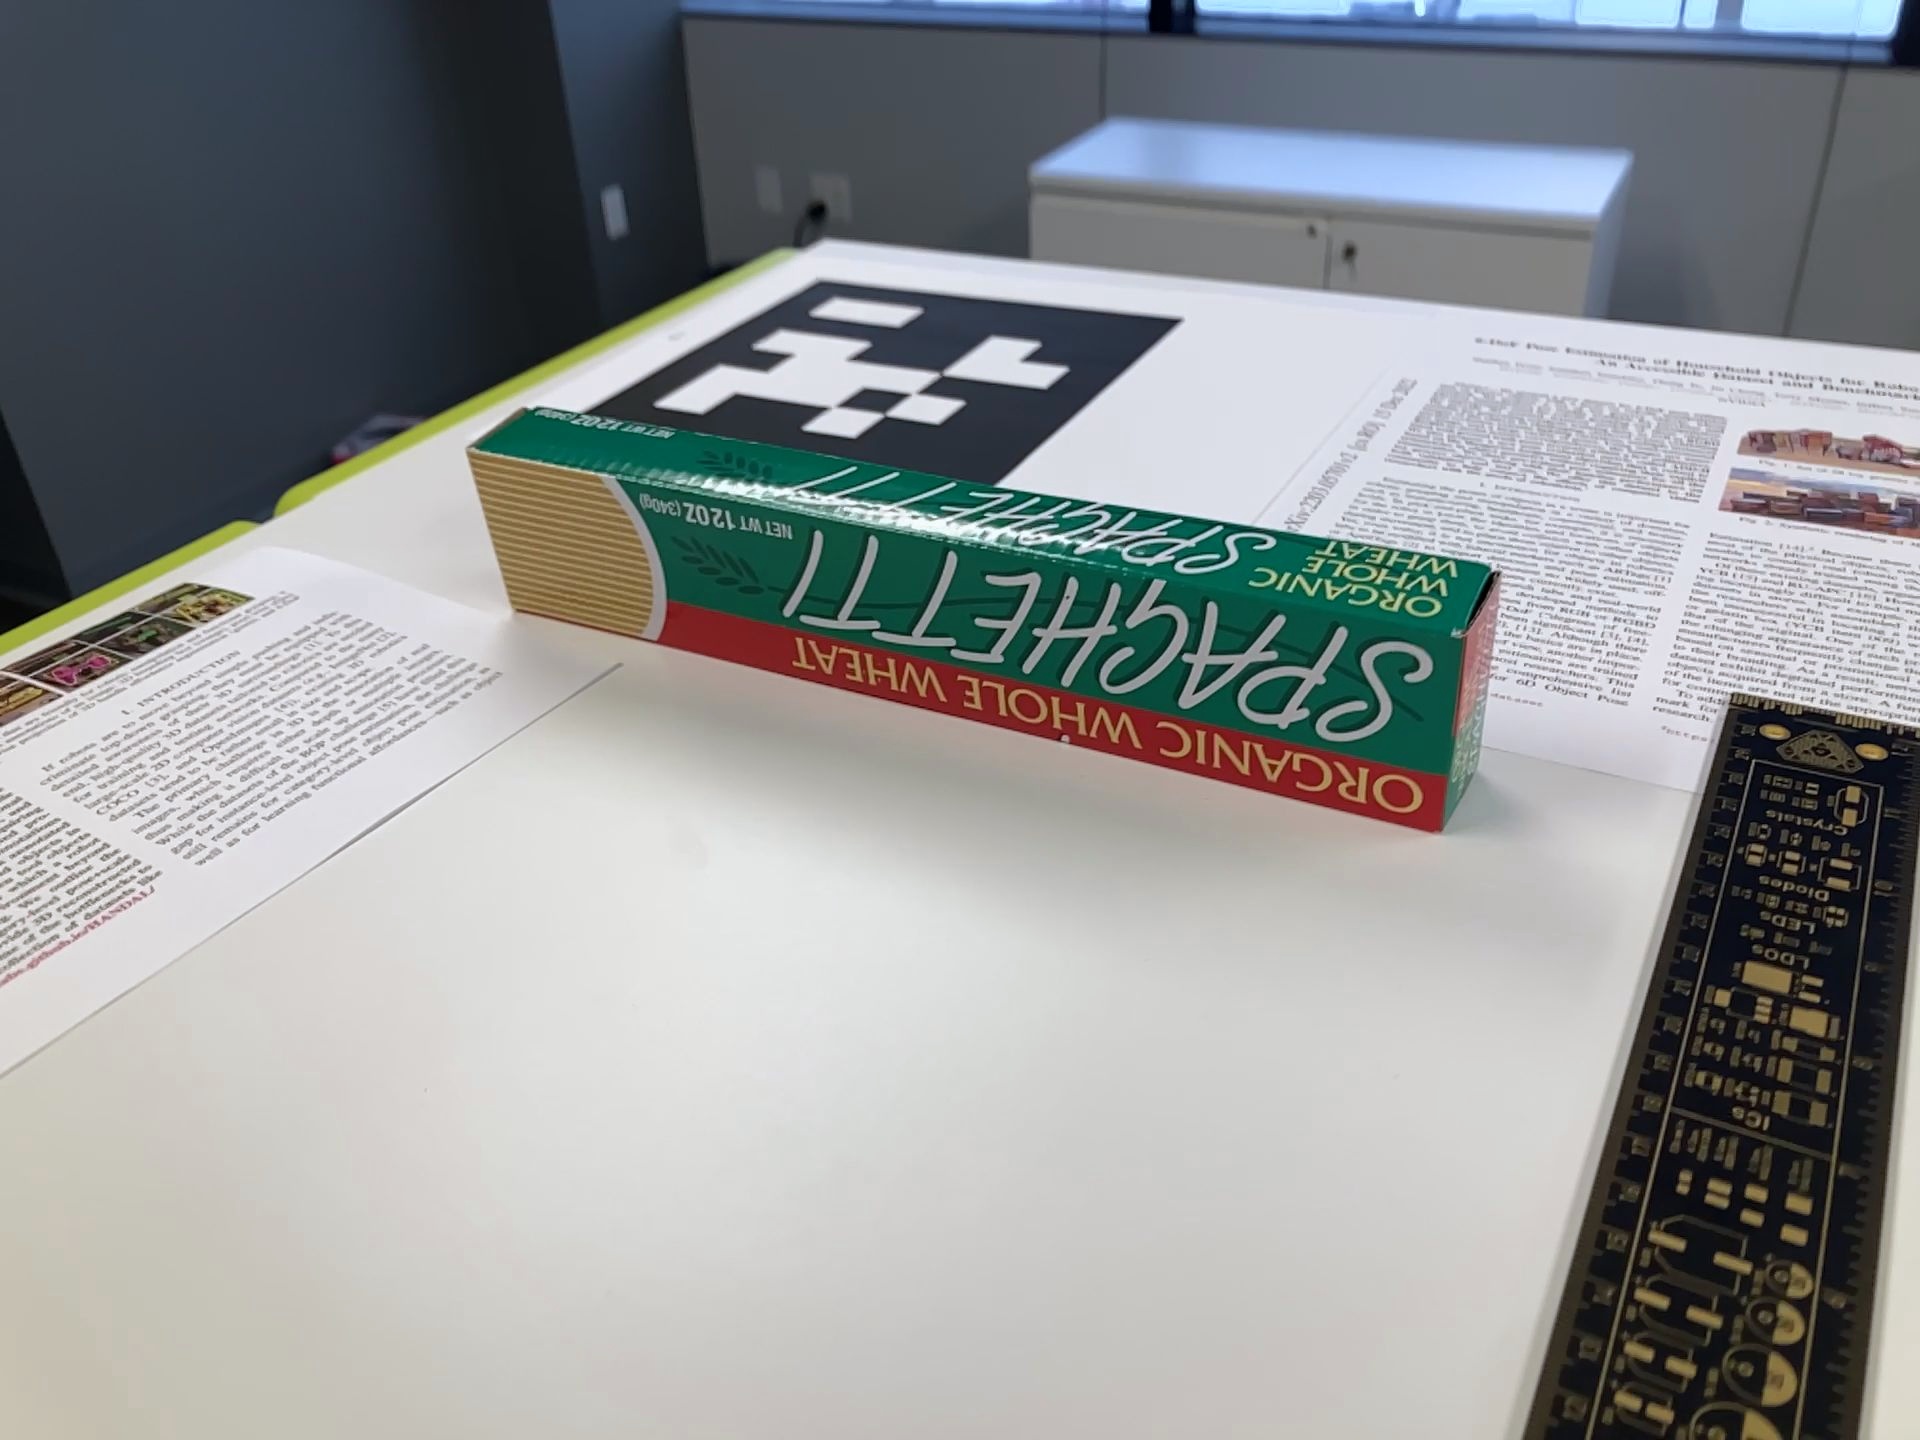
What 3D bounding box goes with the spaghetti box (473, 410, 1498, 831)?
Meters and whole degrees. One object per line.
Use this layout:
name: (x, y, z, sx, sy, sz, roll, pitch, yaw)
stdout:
spaghetti box: (-0.006, -0.029, 0.370, 0.250, 0.050, 0.028, 14, 40, 25)
